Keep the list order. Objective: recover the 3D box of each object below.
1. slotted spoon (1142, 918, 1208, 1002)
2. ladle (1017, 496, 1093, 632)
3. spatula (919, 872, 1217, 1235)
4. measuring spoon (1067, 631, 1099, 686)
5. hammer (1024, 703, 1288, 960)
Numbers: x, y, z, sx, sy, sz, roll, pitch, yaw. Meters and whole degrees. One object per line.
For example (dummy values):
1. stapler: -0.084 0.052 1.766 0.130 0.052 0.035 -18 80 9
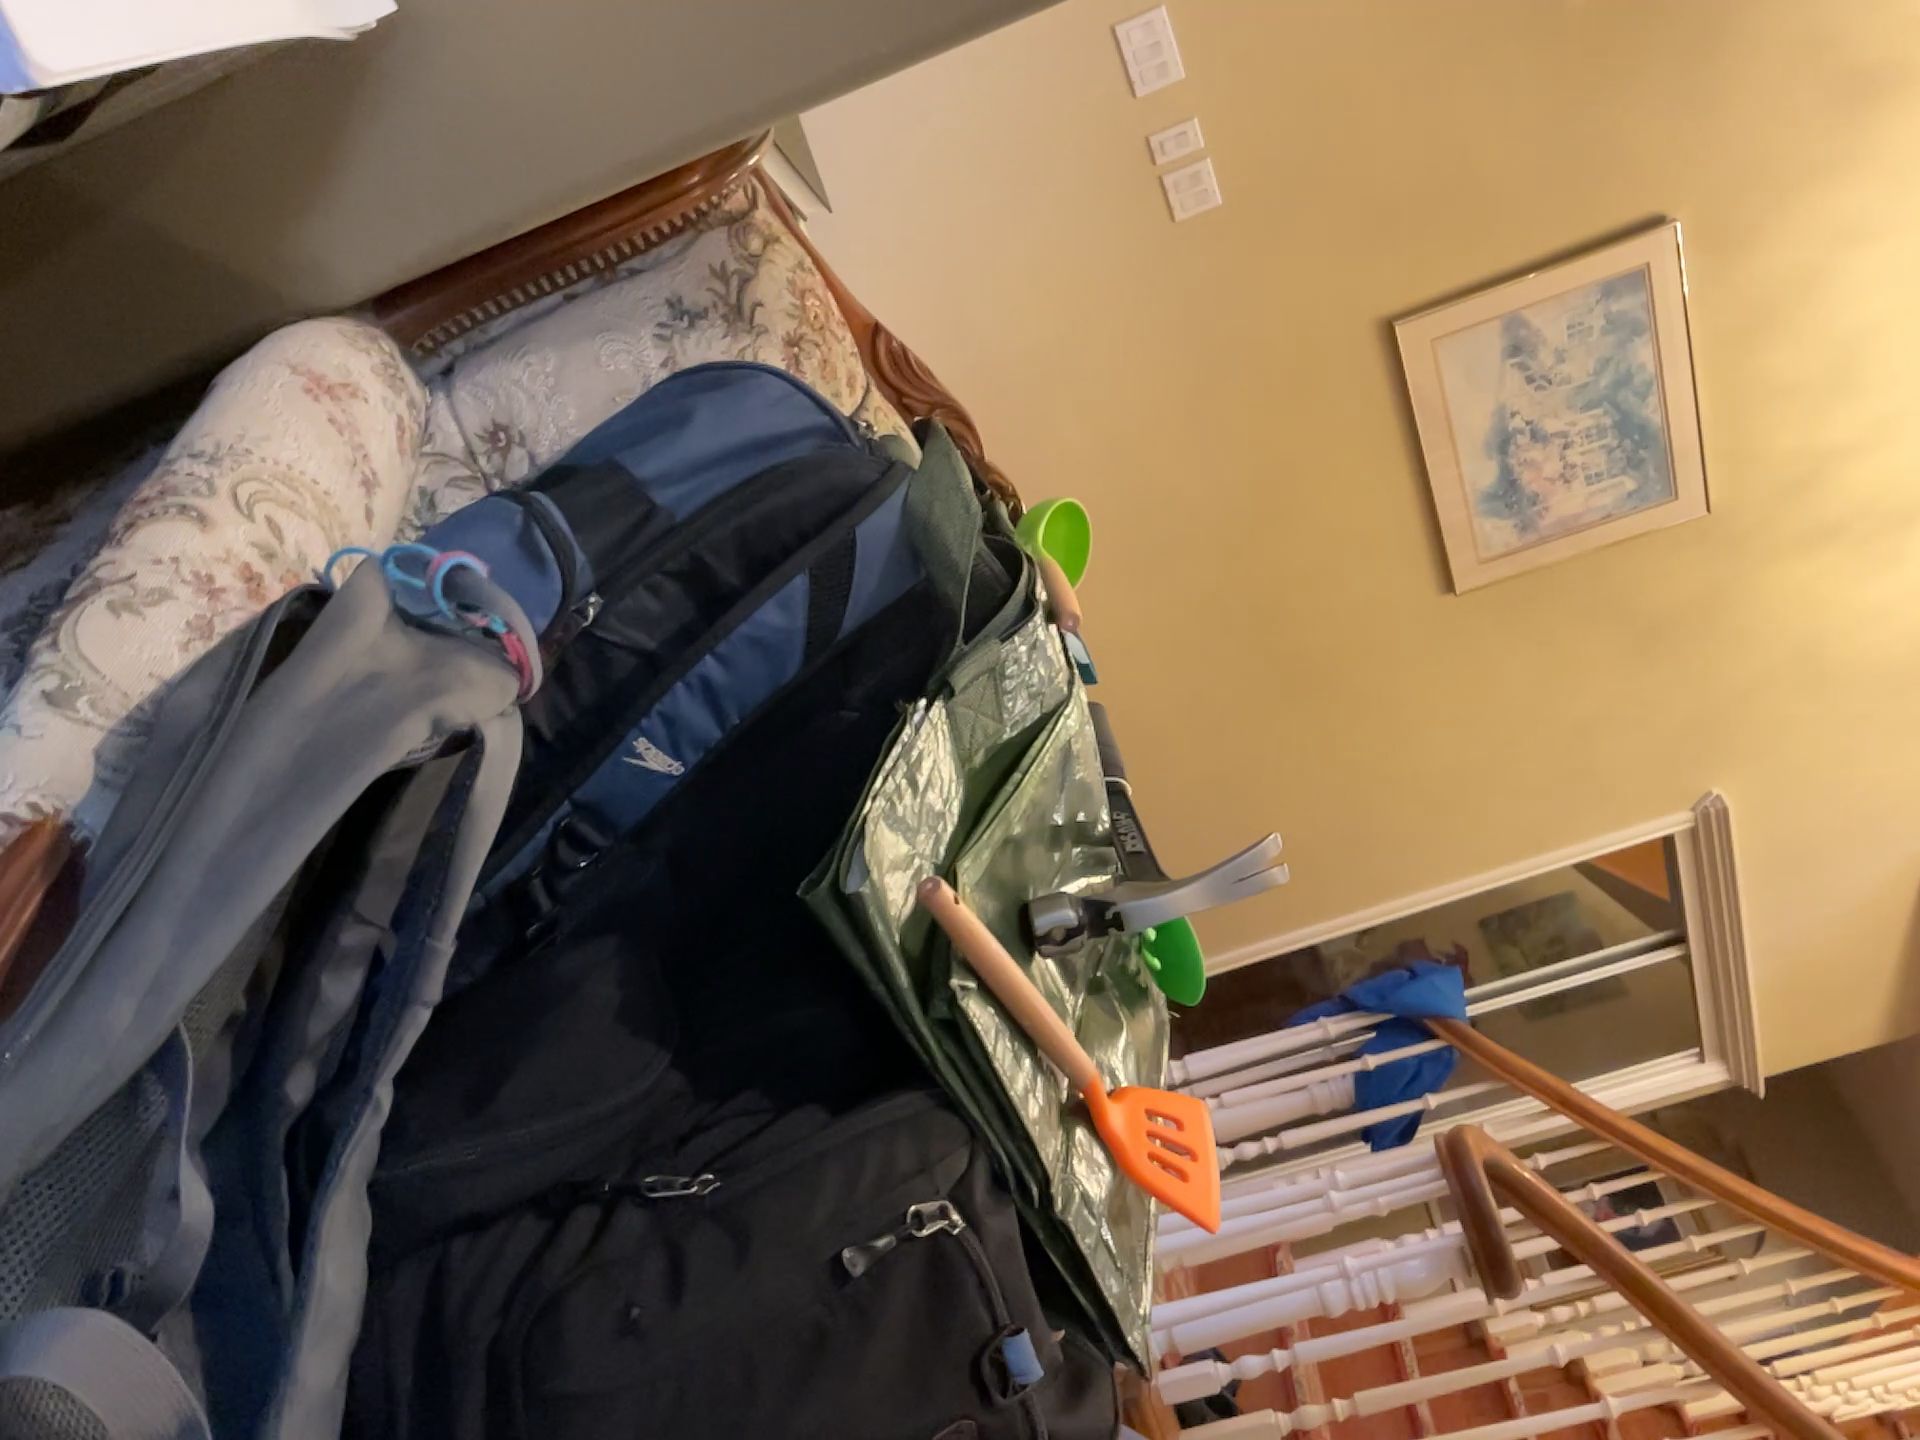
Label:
1. slotted spoon: 0.123 0.111 1.110 0.314 0.031 0.070 -105 -172 -74
2. ladle: 0.069 -0.093 1.029 0.320 0.062 0.078 -94 -172 -76
3. spatula: 0.062 0.168 0.811 0.322 0.041 0.081 56 26 -43
4. measuring spoon: 0.072 -0.043 1.057 0.128 0.021 0.042 11 58 -79
5. hammer: 0.106 0.051 1.056 0.409 0.149 0.036 -95 171 -75
